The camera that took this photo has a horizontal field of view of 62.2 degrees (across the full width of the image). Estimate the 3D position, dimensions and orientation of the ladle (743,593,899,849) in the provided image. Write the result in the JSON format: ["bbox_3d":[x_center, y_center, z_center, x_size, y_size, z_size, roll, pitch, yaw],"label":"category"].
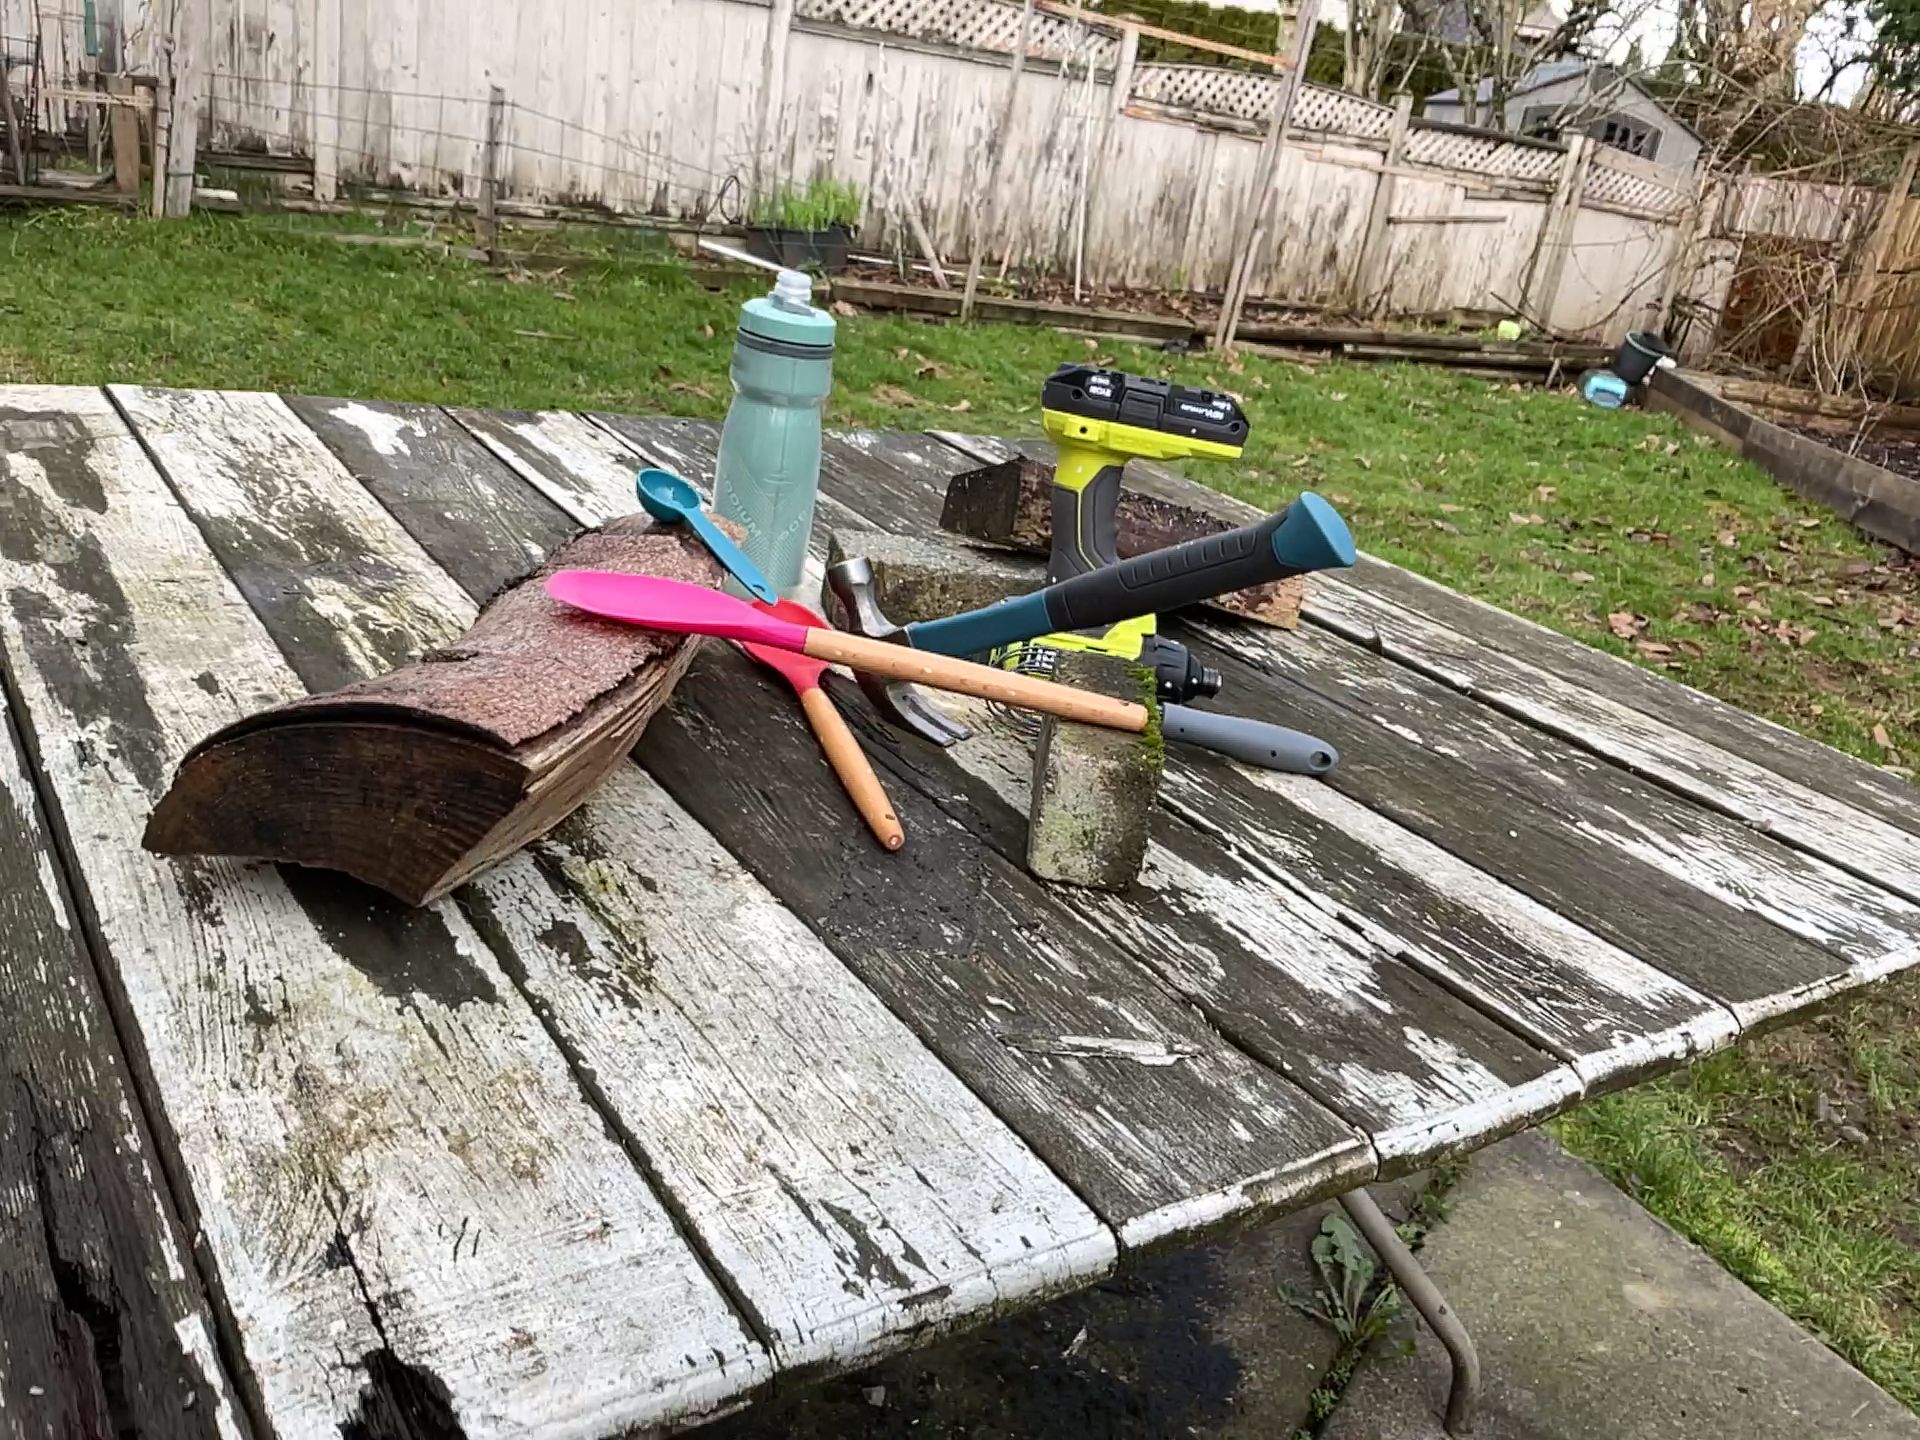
[{"bbox_3d":[-0.083,-0.005,0.970,0.069,0.031,0.316,5,24,-21],"label":"ladle"}]

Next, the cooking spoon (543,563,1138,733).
[{"bbox_3d":[-0.060,-0.037,0.838,0.318,0.017,0.069,14,20,-5],"label":"cooking spoon"}]

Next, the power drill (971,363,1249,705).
[{"bbox_3d":[0.113,-0.120,1.089,0.171,0.223,0.080,11,13,-5],"label":"power drill"}]

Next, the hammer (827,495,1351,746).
[{"bbox_3d":[0.067,-0.068,0.931,0.331,0.128,0.033,-14,7,35],"label":"hammer"}]

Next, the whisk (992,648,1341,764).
[{"bbox_3d":[0.135,-0.005,1.034,0.239,0.055,0.055,12,29,-7],"label":"whisk"}]

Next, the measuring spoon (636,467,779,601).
[{"bbox_3d":[-0.157,-0.110,0.984,0.129,0.021,0.042,45,33,20],"label":"measuring spoon"}]
